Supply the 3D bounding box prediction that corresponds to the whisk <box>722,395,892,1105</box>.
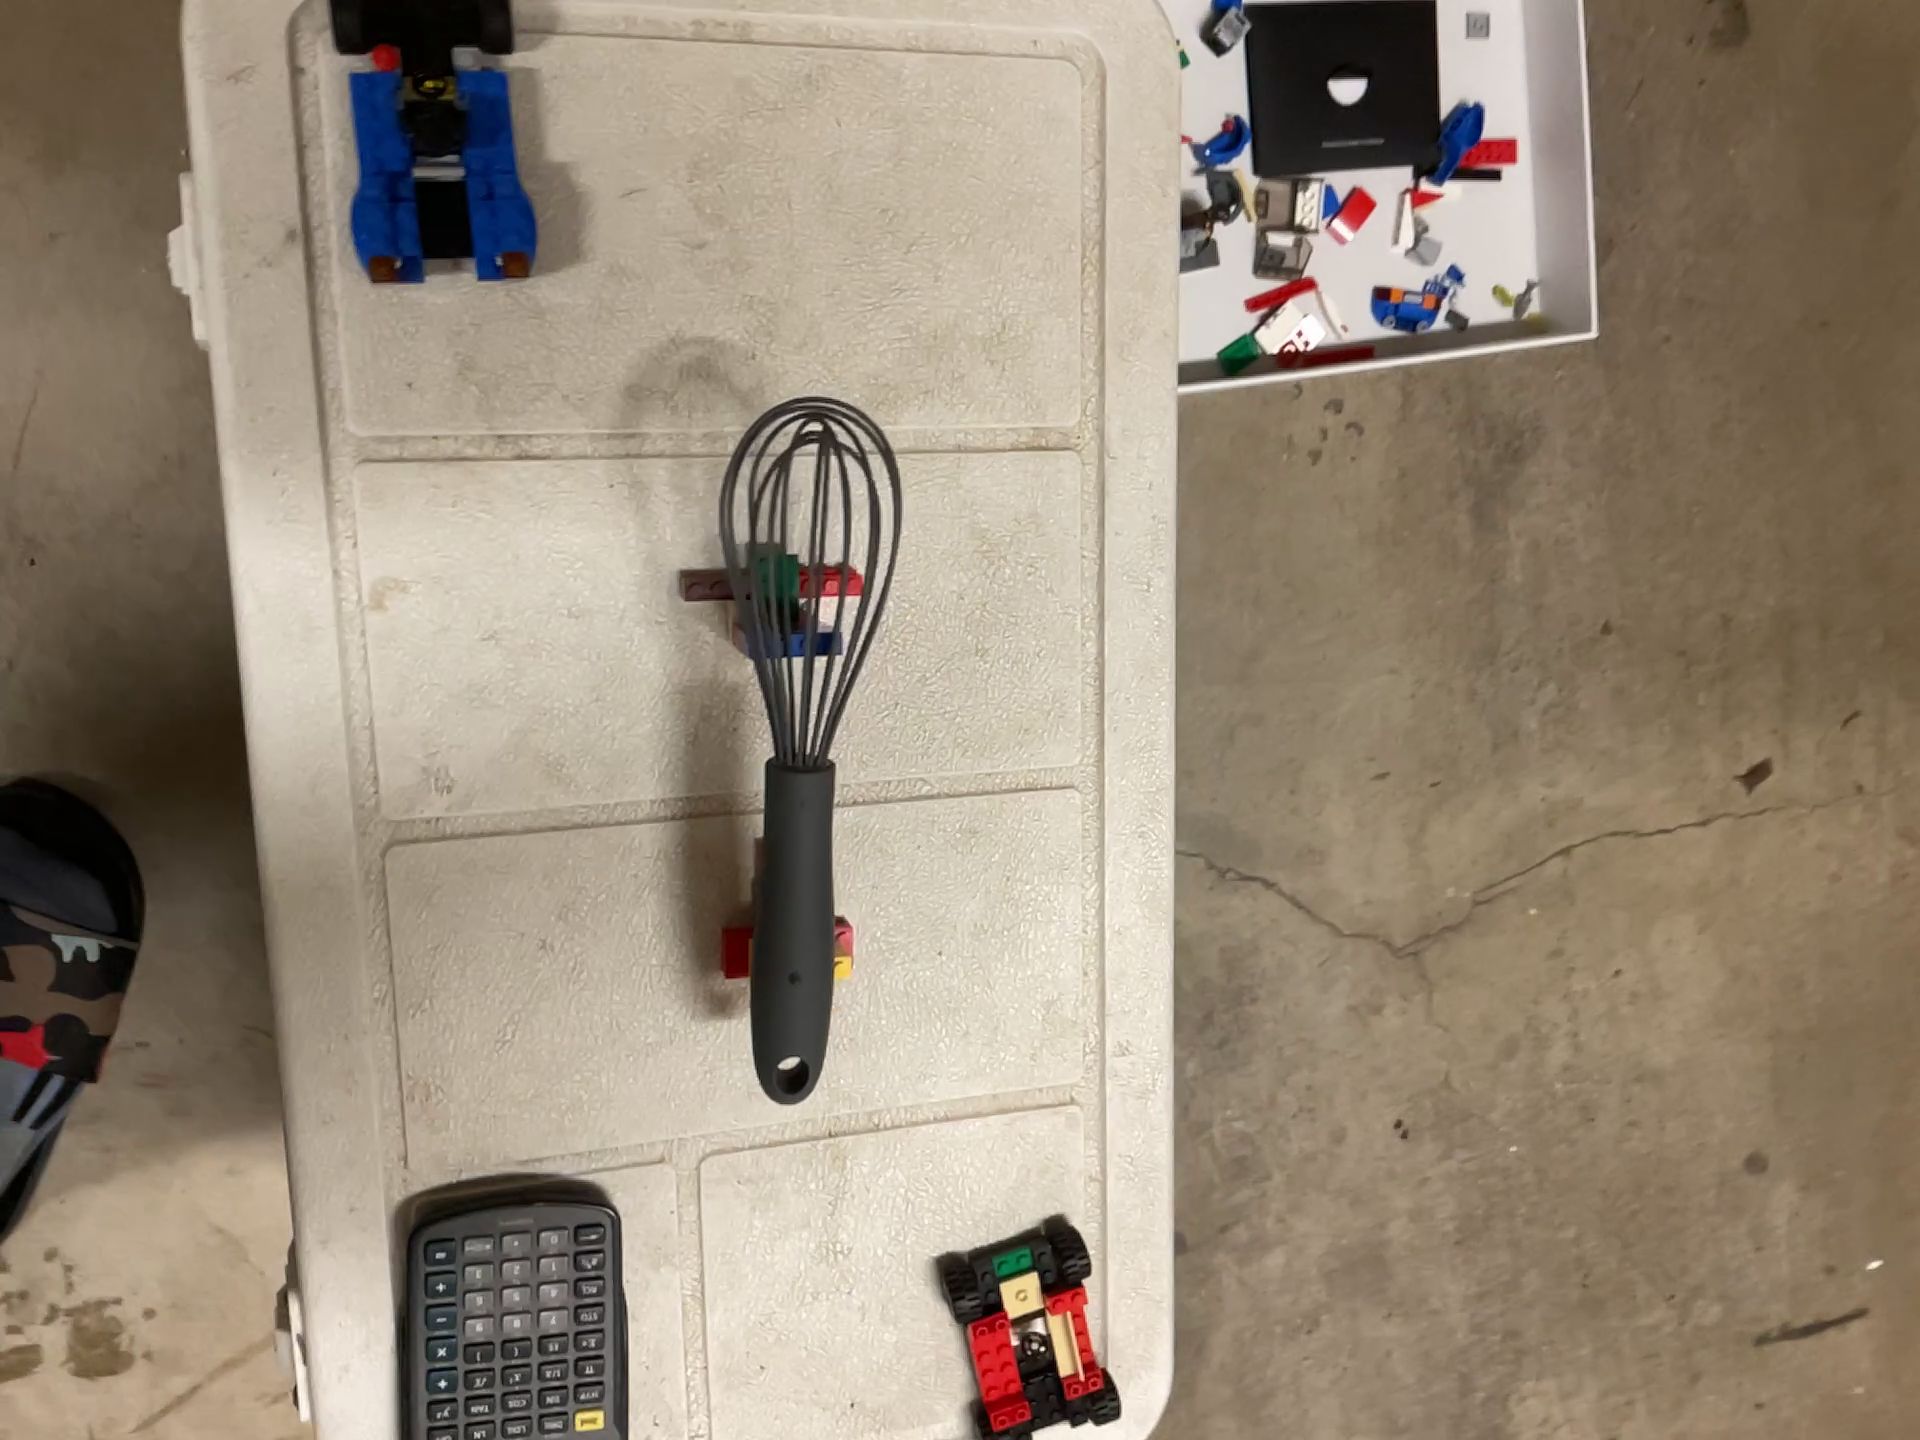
[{"bbox_3d":[-0.054,0.015,0.521,0.055,0.055,0.239,0,104,-15],"label":"whisk"}]
